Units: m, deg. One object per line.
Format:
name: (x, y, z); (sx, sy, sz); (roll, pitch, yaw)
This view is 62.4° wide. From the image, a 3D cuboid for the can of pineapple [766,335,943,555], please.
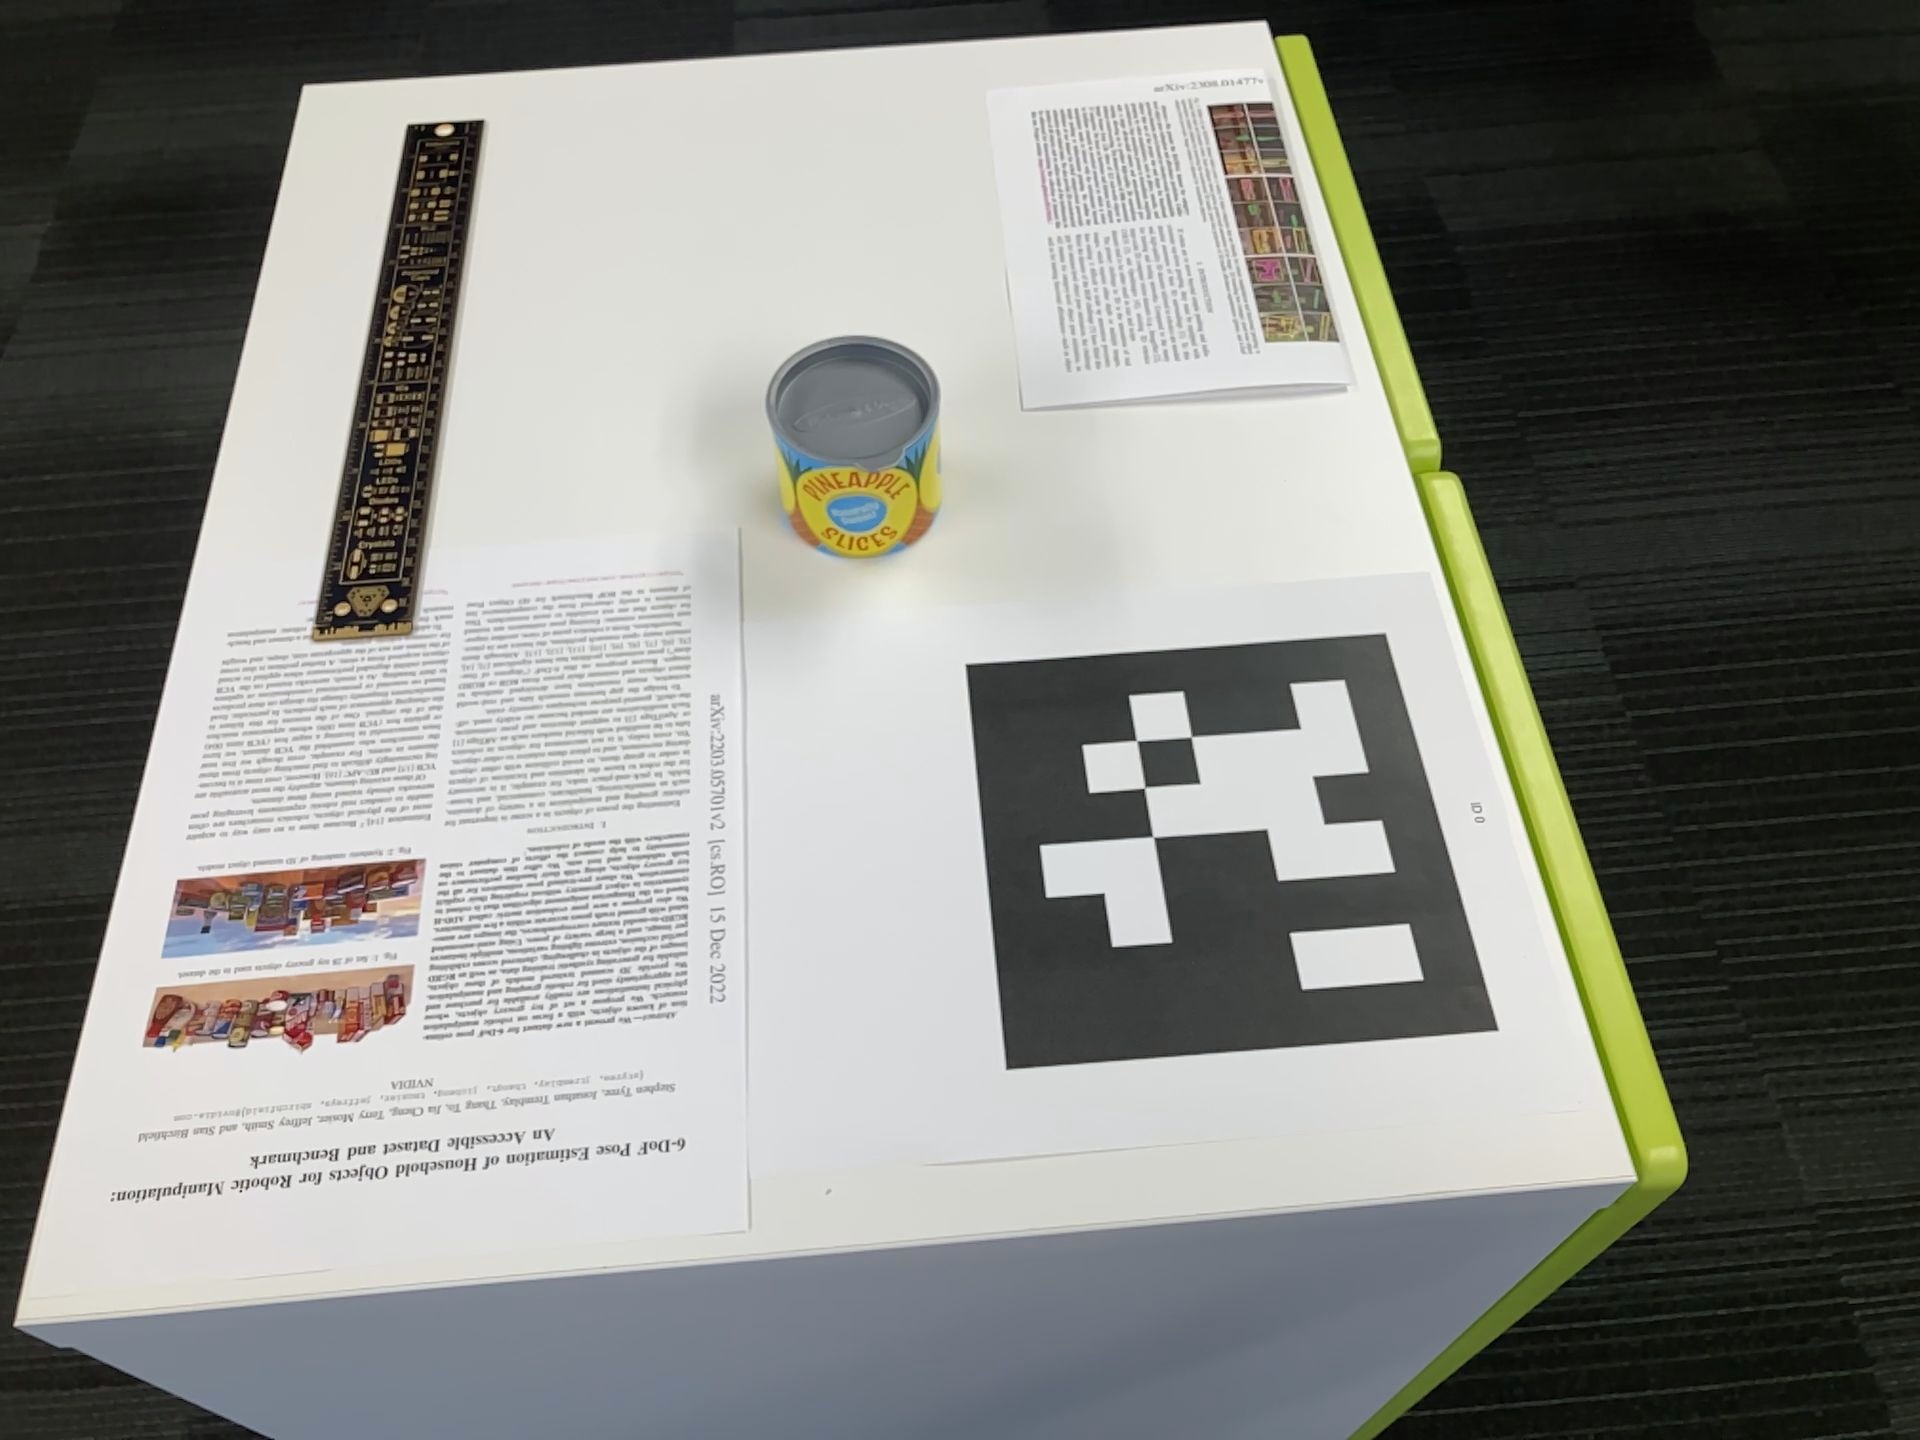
can of pineapple: (-0.040, -0.107, 0.626); (0.071, 0.058, 0.071); (-1, 57, 1)
